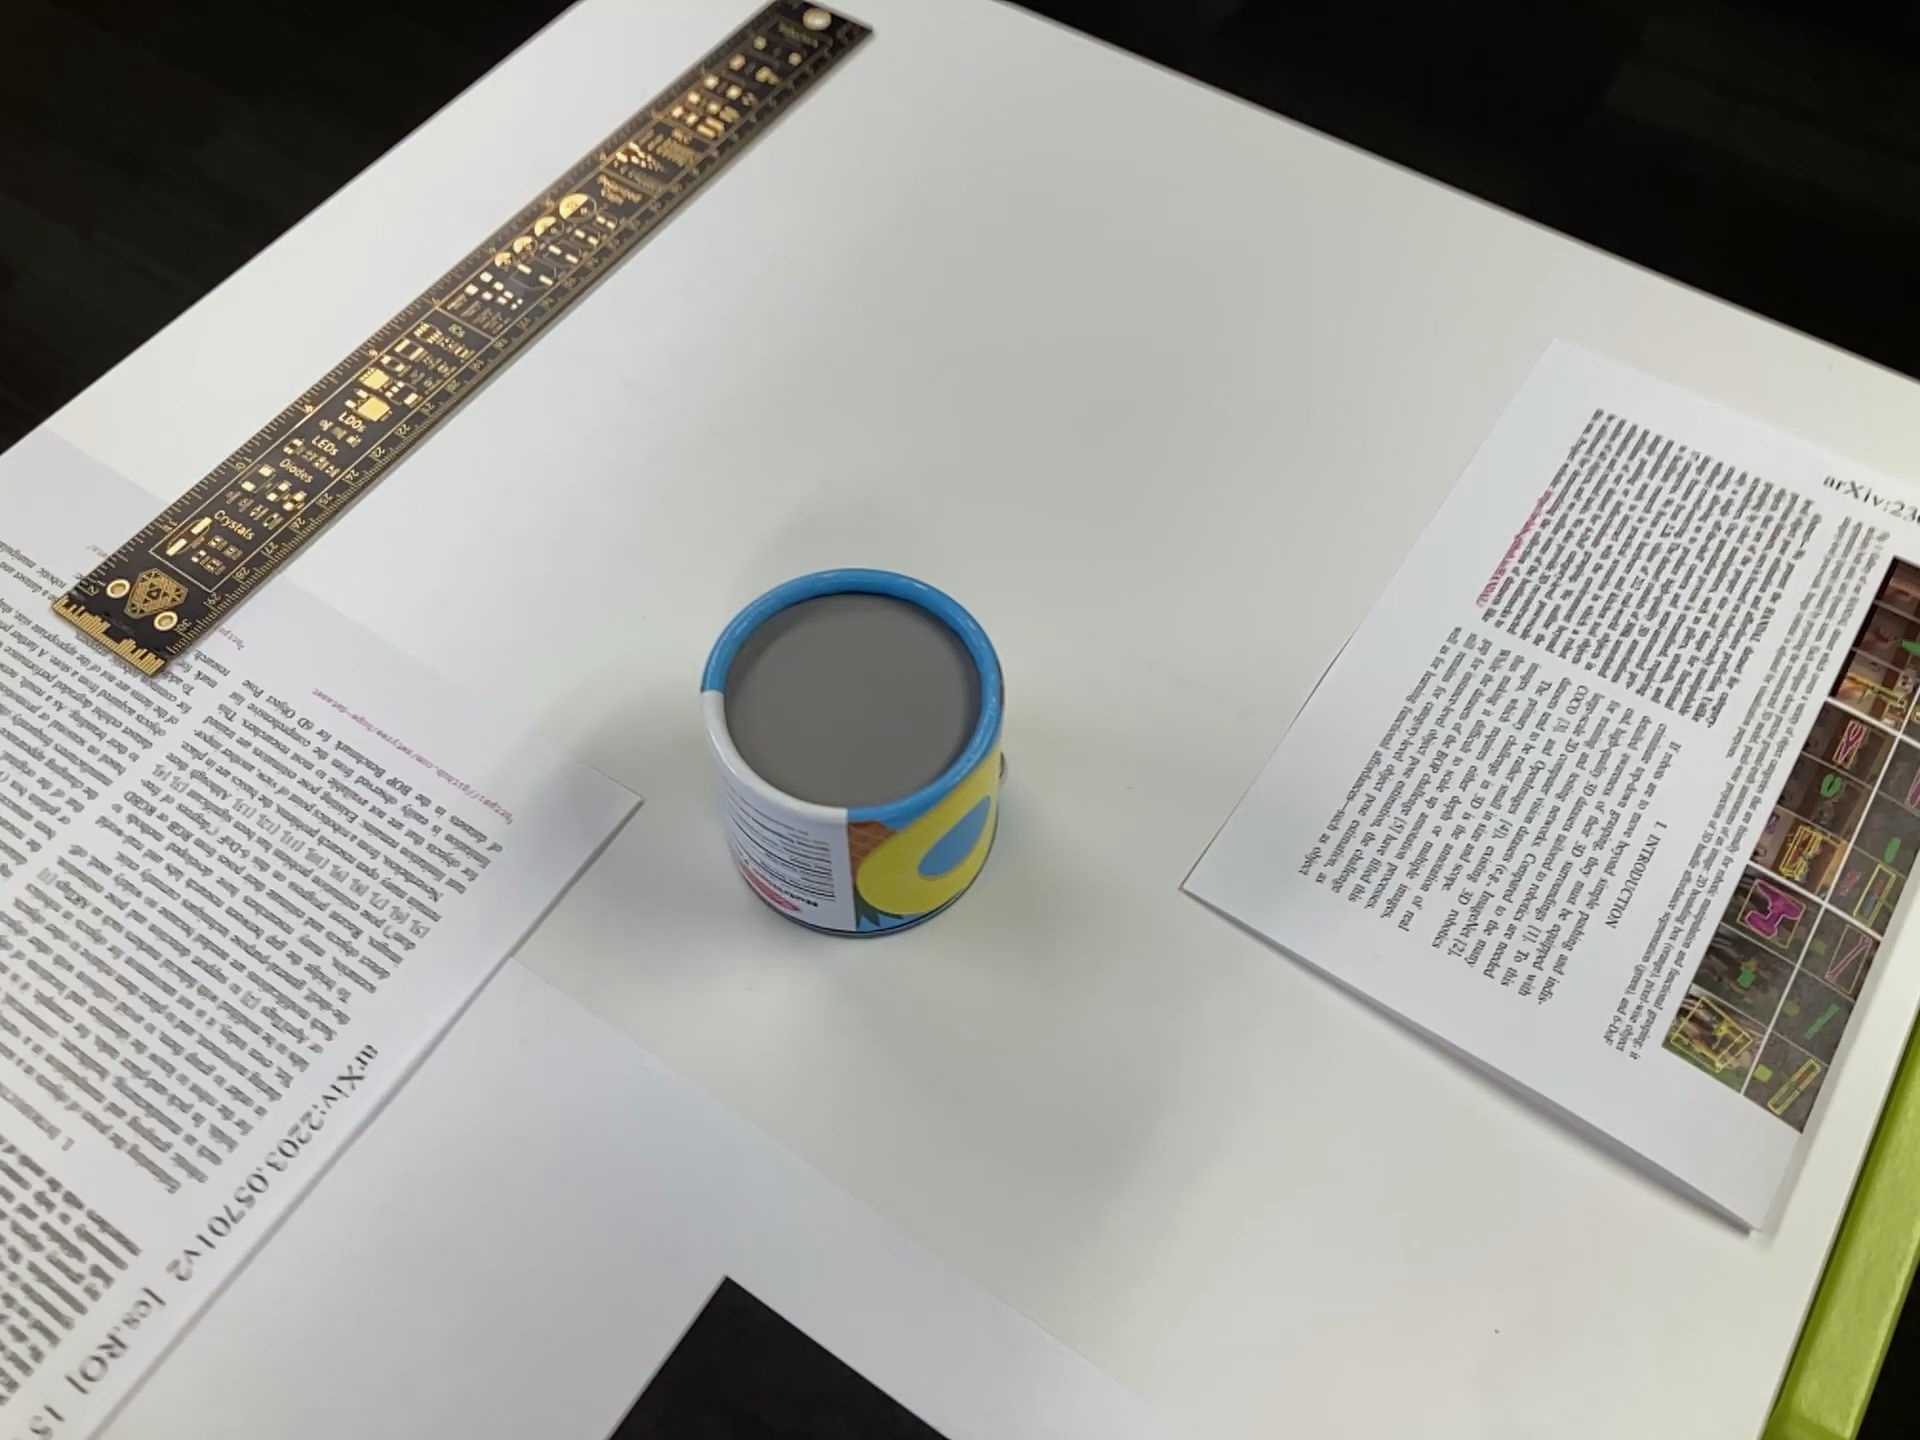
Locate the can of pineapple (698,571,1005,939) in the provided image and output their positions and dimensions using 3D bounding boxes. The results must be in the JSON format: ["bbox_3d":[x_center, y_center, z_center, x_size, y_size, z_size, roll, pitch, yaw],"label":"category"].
[{"bbox_3d":[-0.023,0.007,0.364,0.071,0.058,0.071,0,59,-1],"label":"can of pineapple"}]
